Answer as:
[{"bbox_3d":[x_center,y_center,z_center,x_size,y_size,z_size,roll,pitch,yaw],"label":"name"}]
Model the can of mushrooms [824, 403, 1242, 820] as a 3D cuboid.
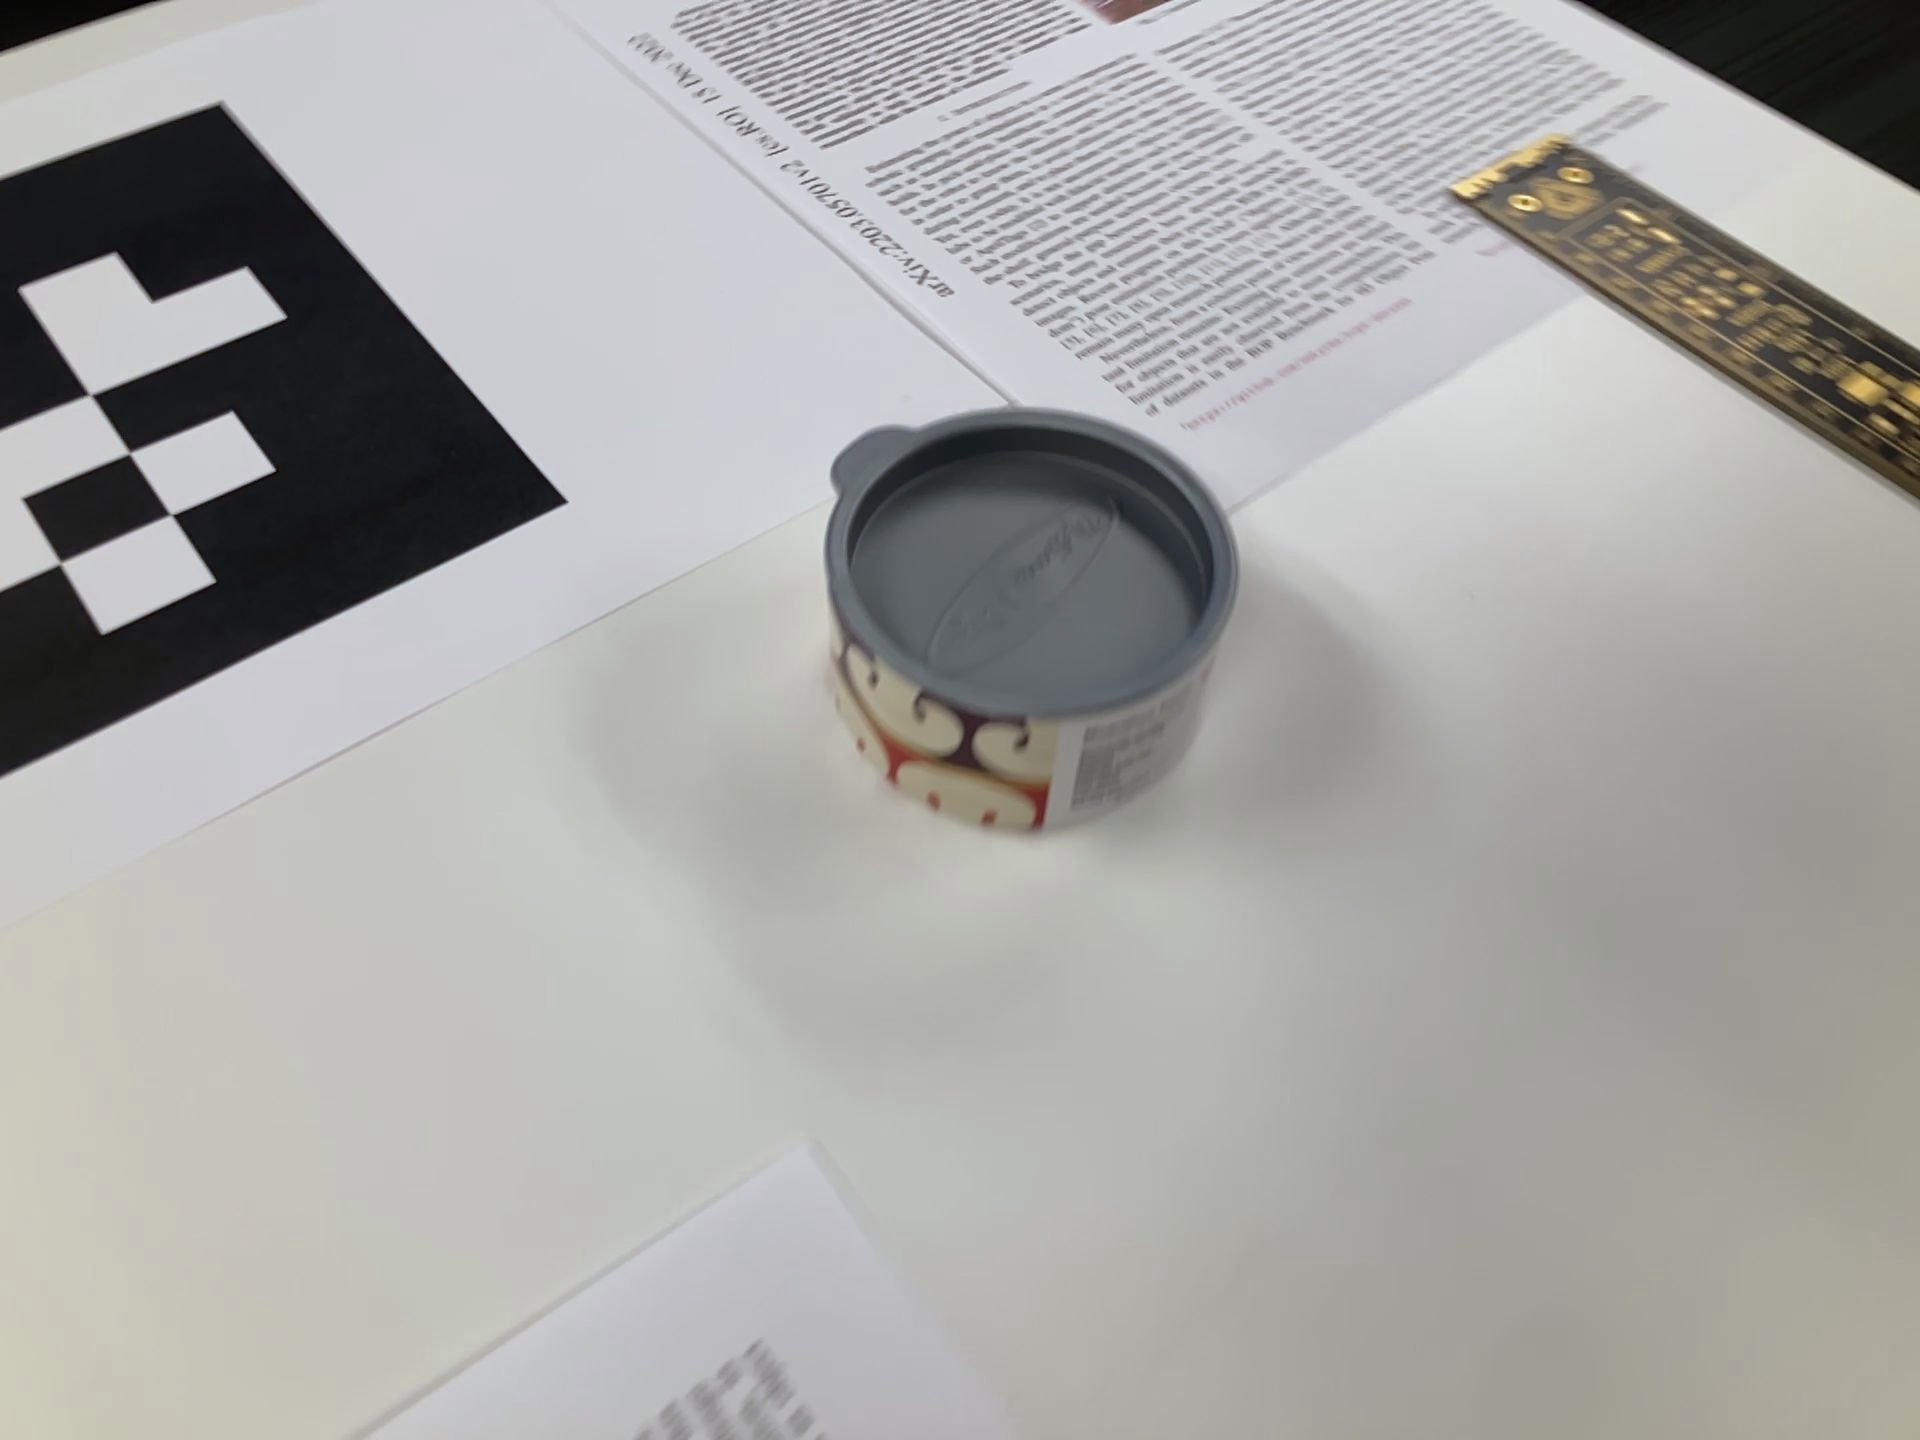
[{"bbox_3d":[0.009,-0.020,0.264,0.071,0.033,0.071,1,54,-1],"label":"can of mushrooms"}]
